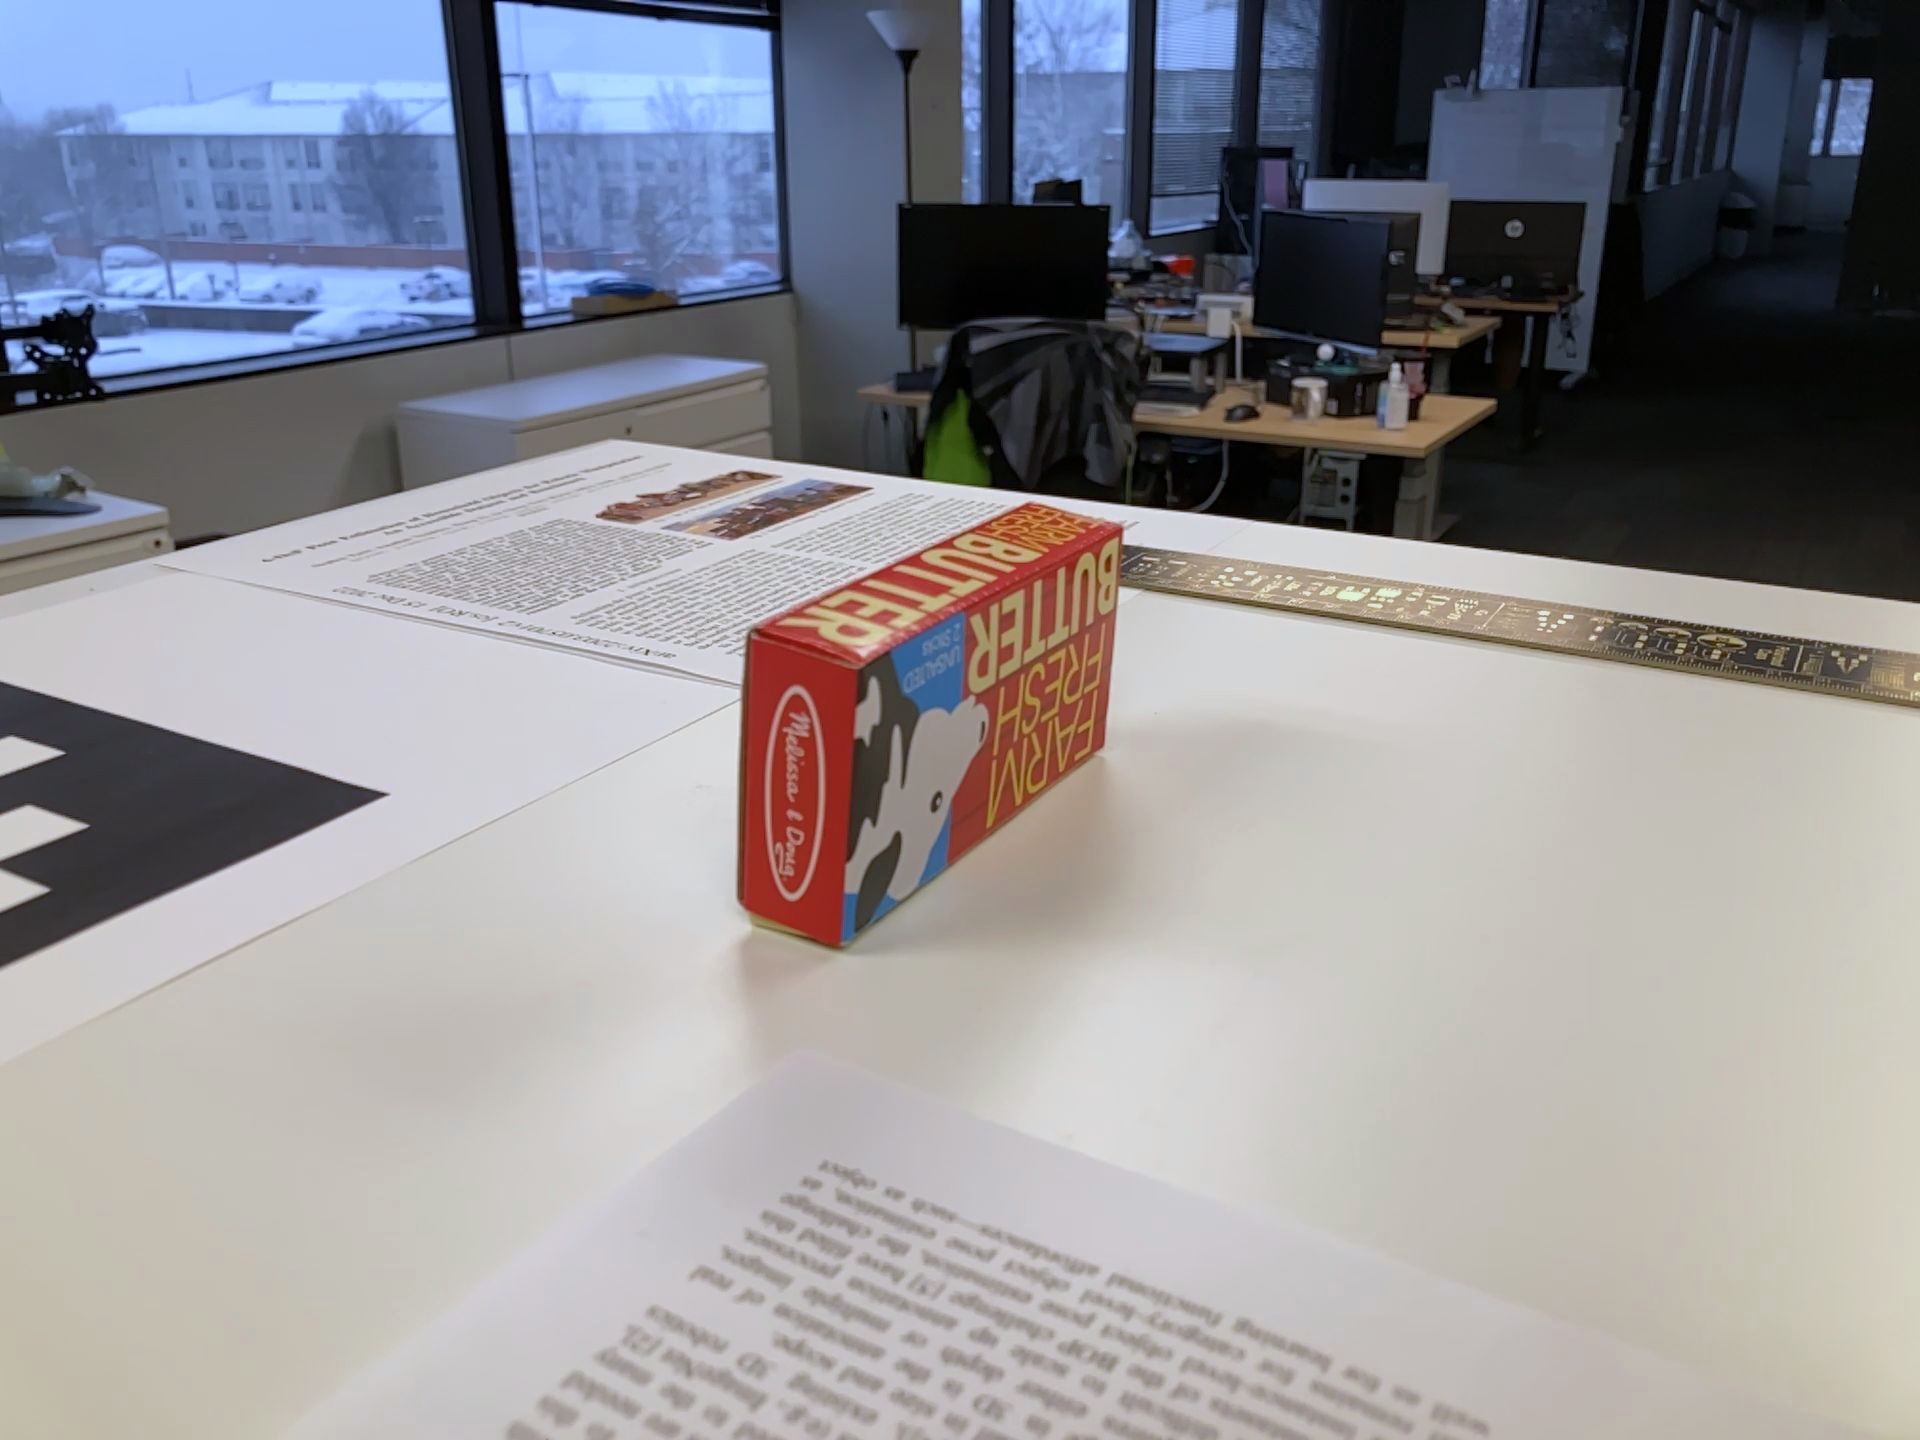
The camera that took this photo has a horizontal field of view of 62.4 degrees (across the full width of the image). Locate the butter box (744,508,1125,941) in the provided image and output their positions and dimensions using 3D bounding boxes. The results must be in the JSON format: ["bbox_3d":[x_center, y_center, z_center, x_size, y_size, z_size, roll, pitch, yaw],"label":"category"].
[{"bbox_3d":[-0.002,-0.004,0.303,0.024,0.053,0.103,16,26,26],"label":"butter box"}]
